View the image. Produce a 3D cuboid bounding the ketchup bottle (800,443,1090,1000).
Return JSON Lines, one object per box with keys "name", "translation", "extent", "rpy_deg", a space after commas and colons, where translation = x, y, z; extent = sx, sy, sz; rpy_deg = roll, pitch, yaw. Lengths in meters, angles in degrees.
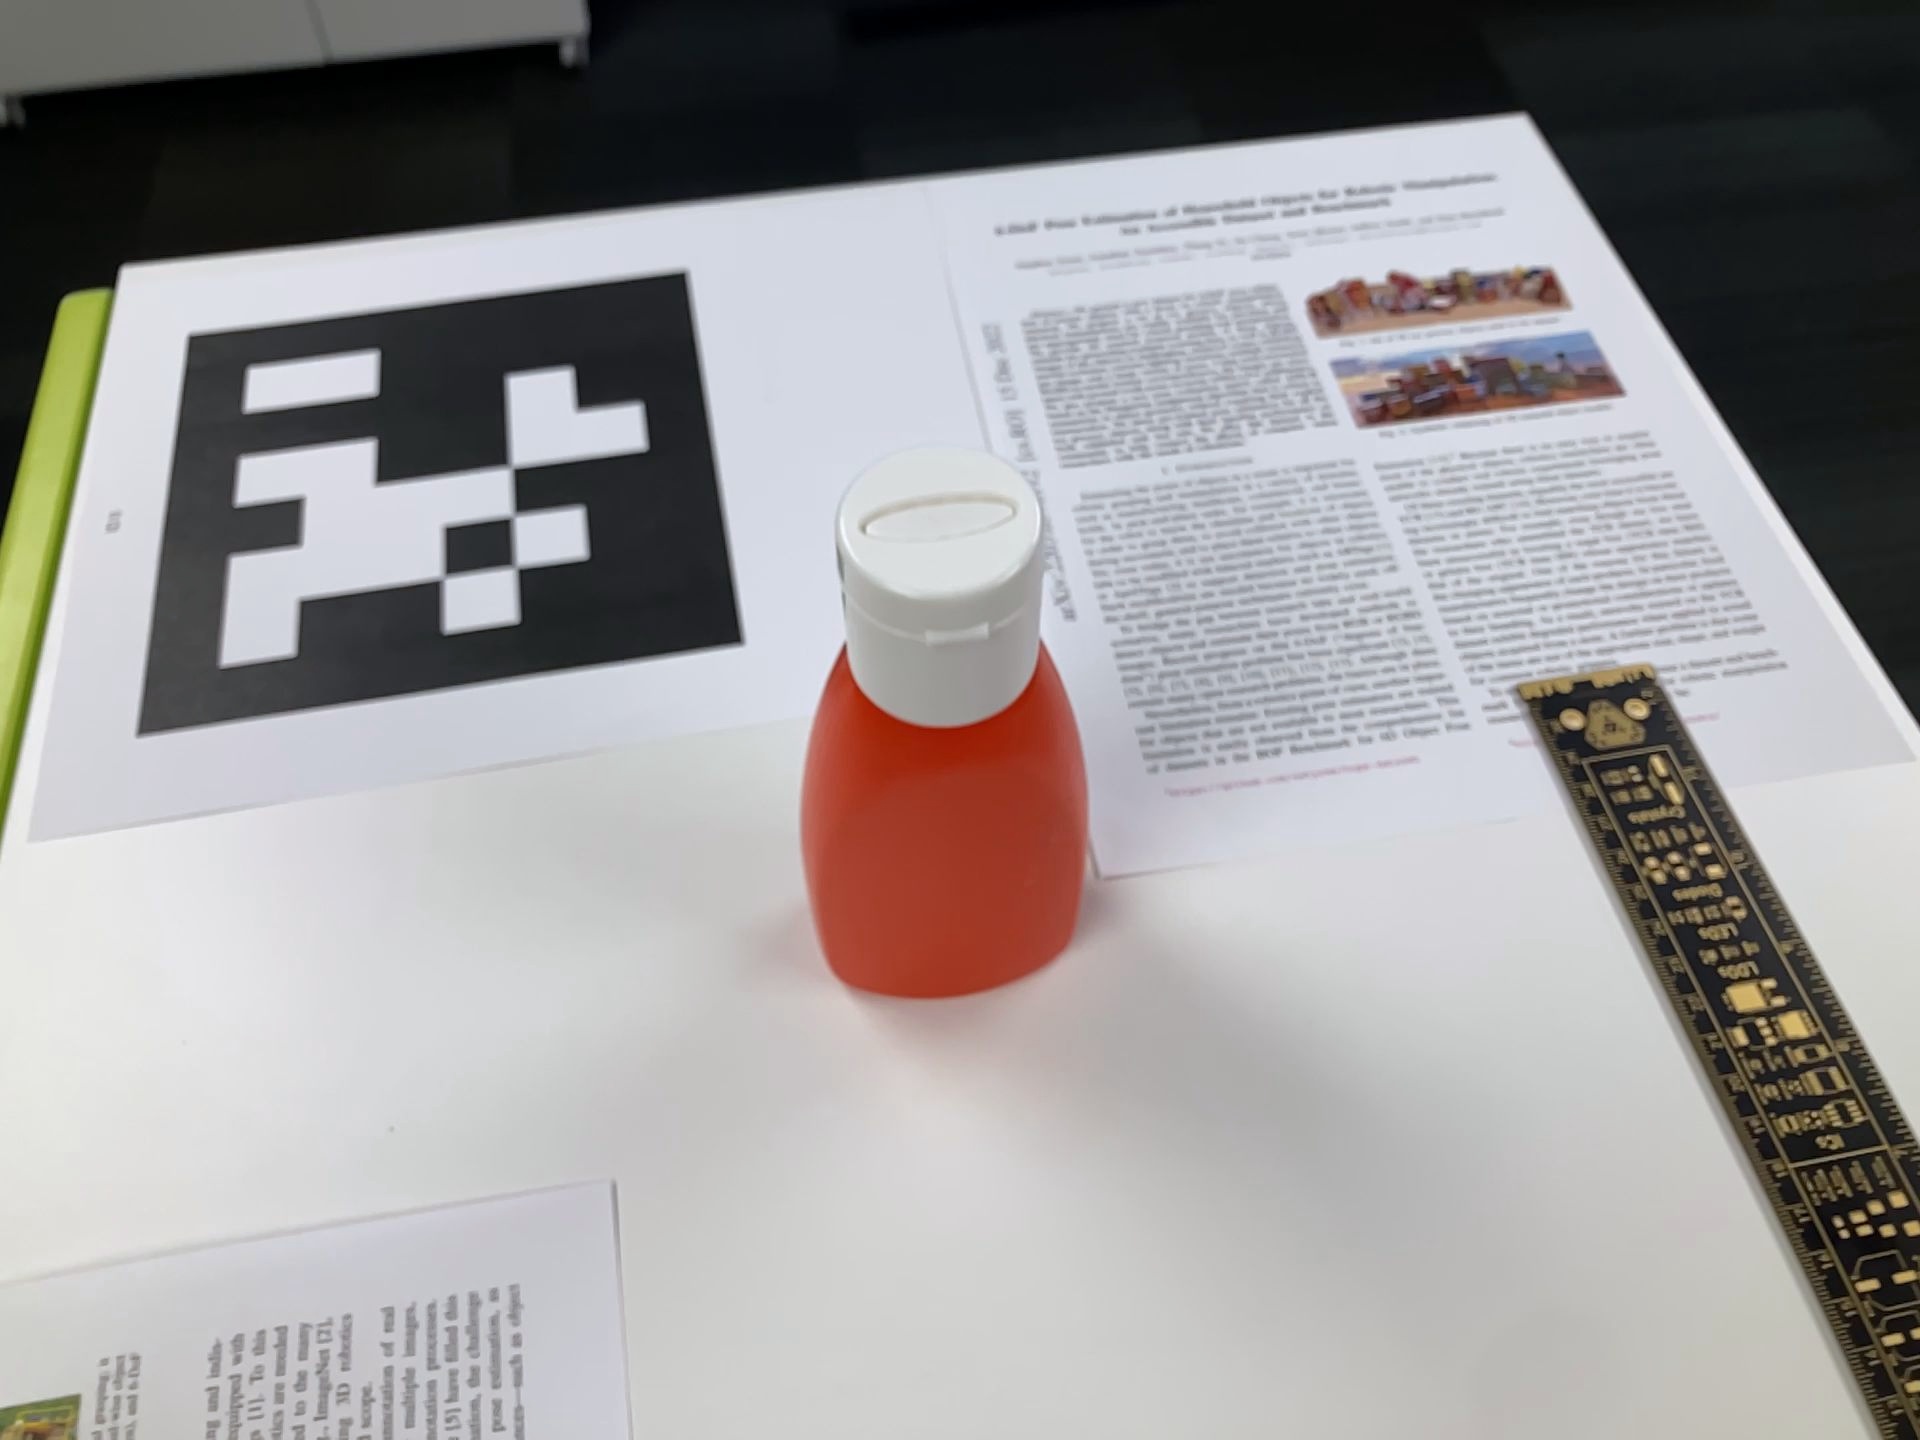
{"name": "ketchup bottle", "translation": [-0.003, 0.008, 0.331], "extent": [0.065, 0.149, 0.043], "rpy_deg": [-7, 56, -5]}
